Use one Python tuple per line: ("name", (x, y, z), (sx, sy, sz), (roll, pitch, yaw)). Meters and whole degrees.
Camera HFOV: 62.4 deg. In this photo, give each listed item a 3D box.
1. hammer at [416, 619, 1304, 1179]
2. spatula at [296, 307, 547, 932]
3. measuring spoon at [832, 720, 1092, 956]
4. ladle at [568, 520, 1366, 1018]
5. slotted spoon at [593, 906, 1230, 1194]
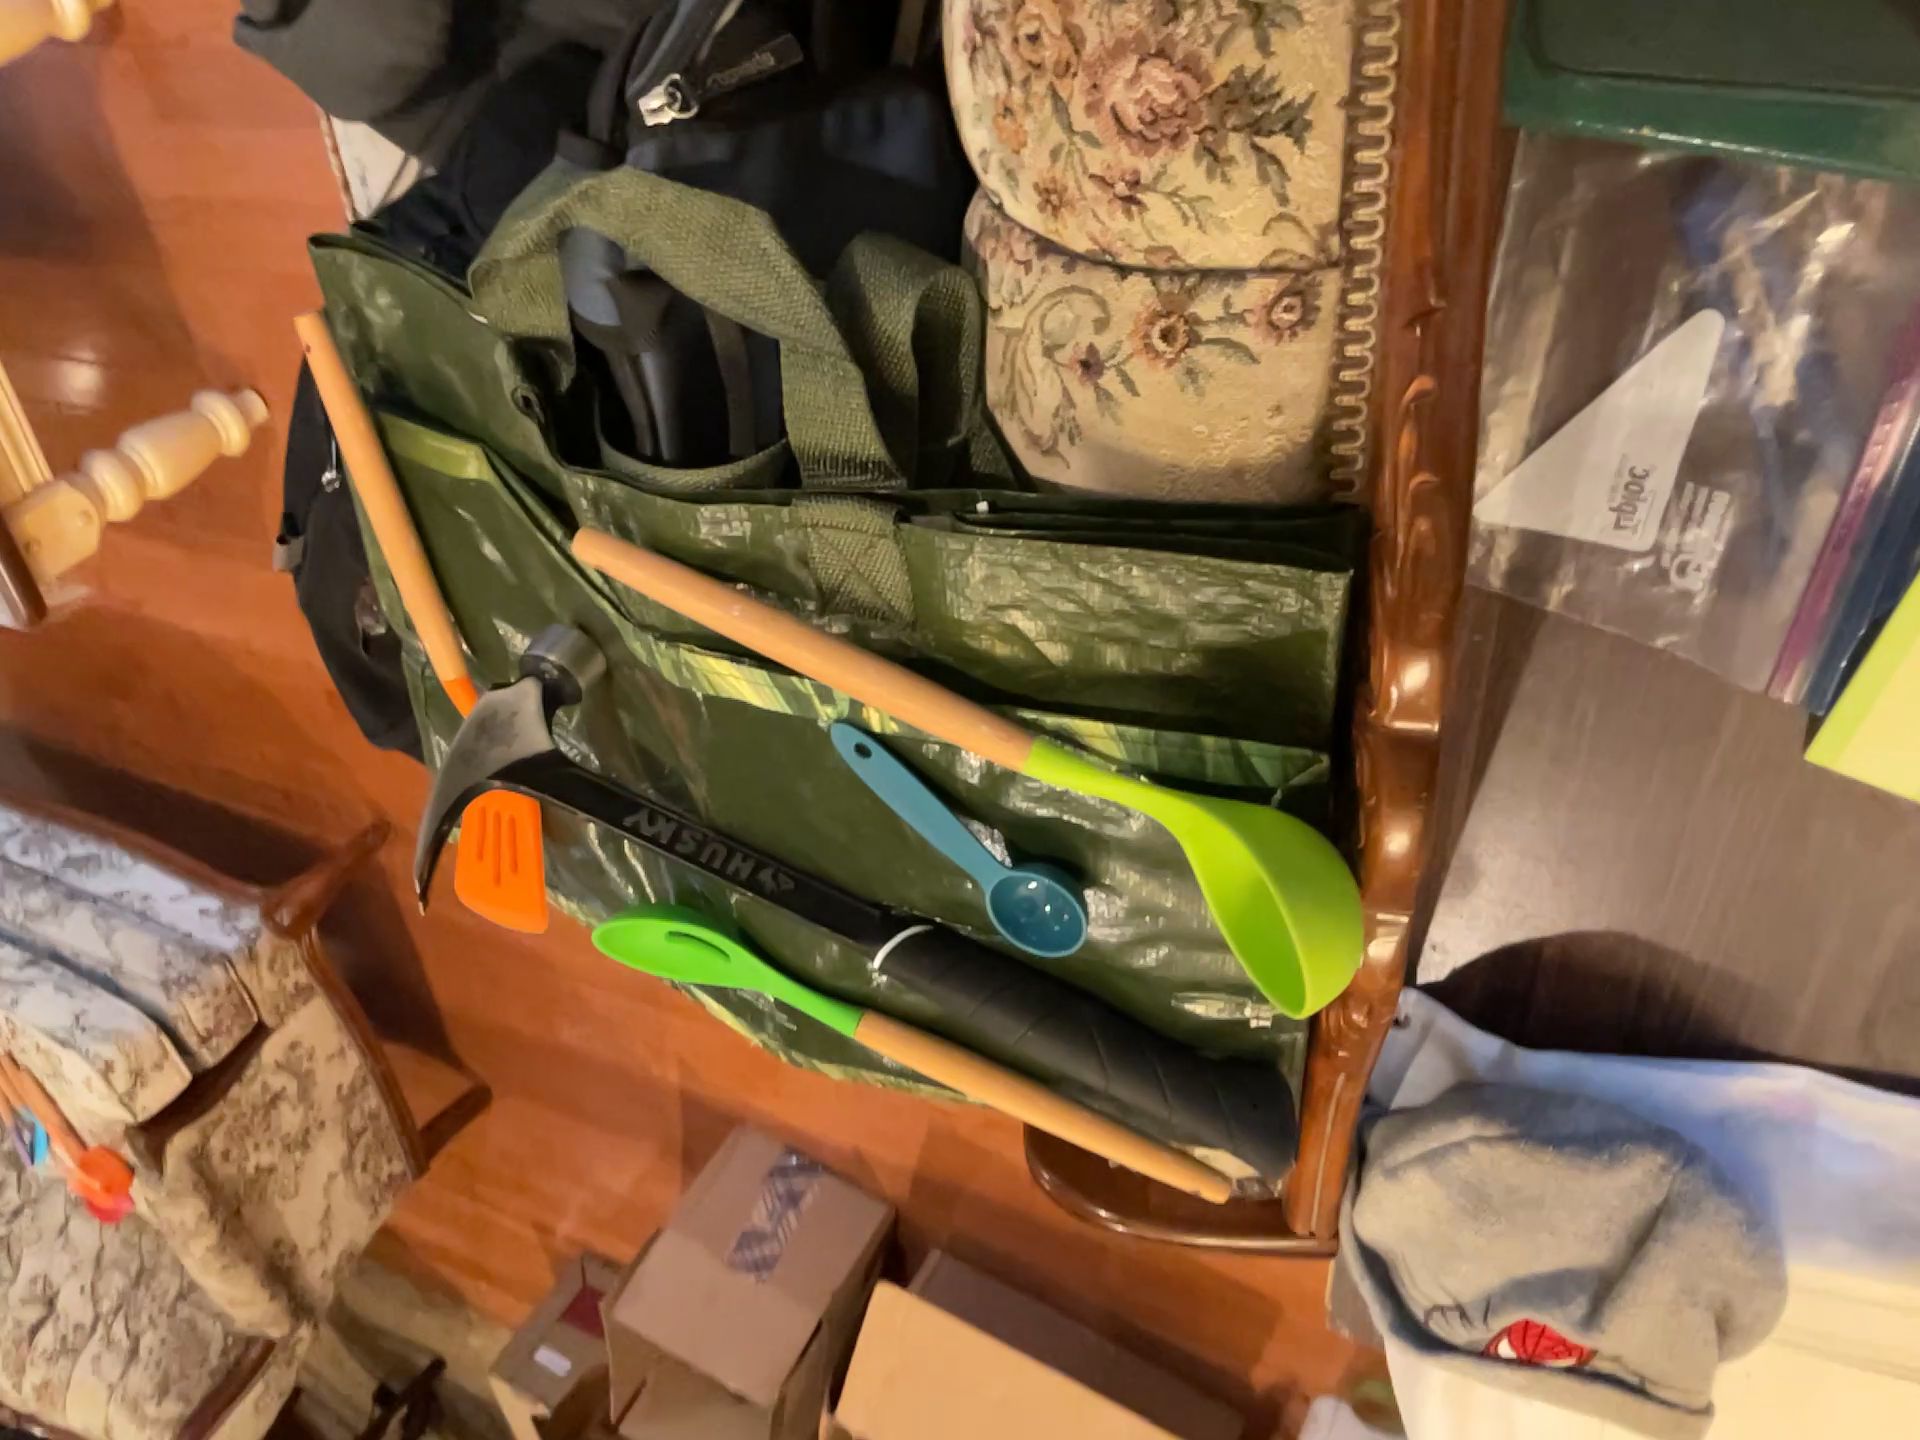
("hammer", (-0.042, 0.093, 0.686), (0.409, 0.149, 0.036), (25, 143, 6))
("spatula", (-0.264, -0.040, 0.779), (0.081, 0.041, 0.322), (11, 127, 37))
("measuring spoon", (0.002, 0.041, 0.614), (0.128, 0.021, 0.042), (43, 134, -5))
("ladle", (-0.004, 0.010, 0.566), (0.320, 0.062, 0.078), (26, 160, 6))
("slotted spoon", (-0.023, 0.153, 0.741), (0.314, 0.031, 0.070), (22, 149, 5))
